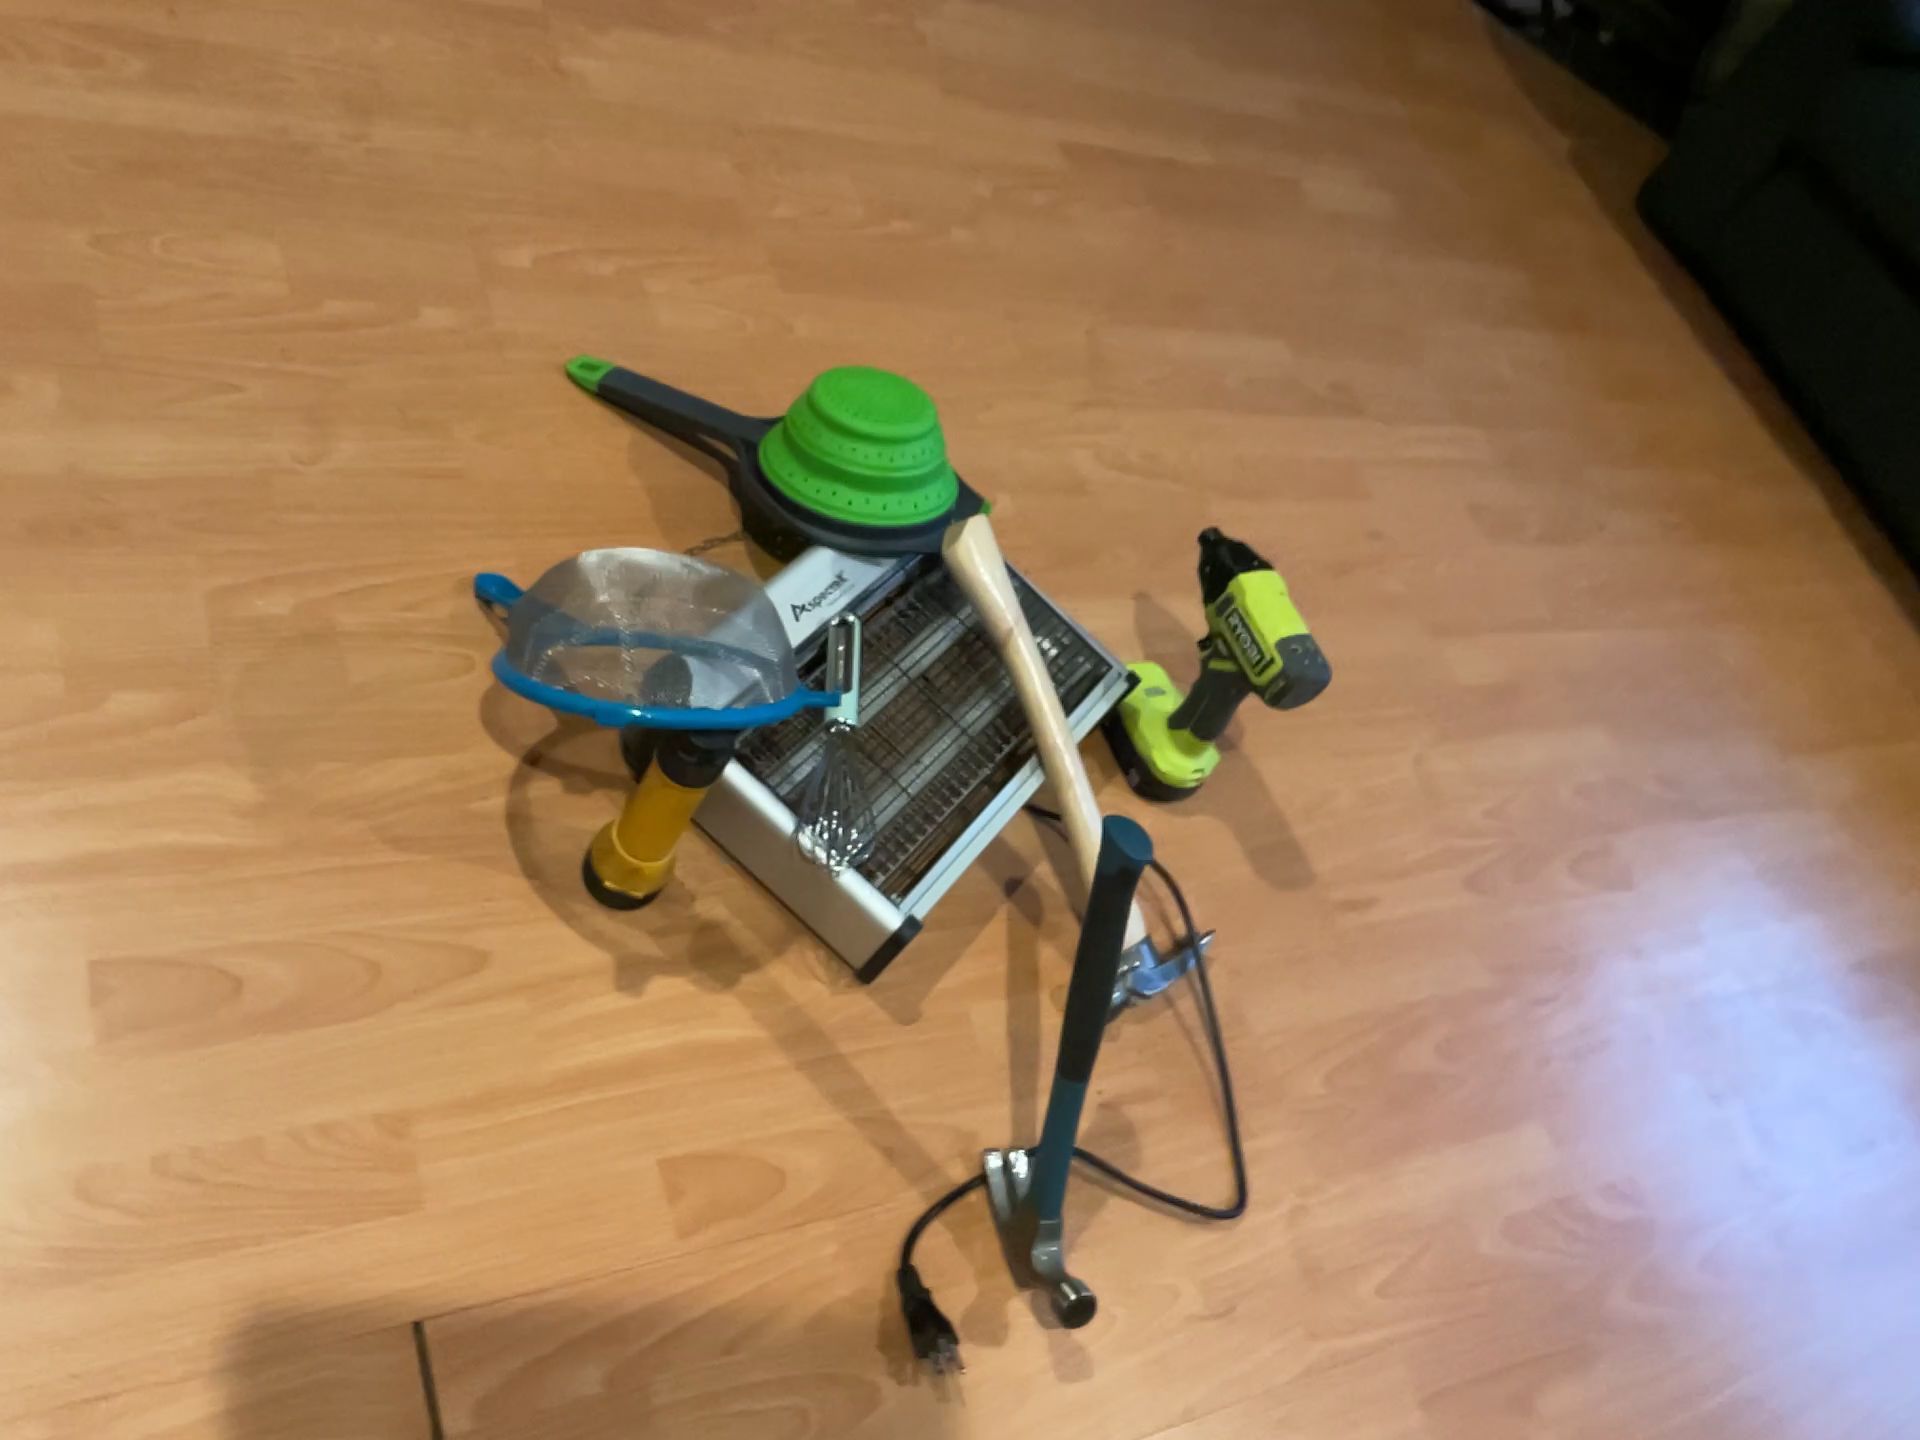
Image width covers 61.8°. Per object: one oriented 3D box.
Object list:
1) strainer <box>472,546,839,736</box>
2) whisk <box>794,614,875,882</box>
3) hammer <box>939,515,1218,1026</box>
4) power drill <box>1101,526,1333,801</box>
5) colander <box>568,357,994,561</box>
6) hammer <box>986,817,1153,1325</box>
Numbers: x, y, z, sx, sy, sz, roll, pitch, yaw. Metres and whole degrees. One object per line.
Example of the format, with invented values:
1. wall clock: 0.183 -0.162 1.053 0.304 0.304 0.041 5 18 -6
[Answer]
1. strainer: -0.248 -0.087 1.129 0.211 0.095 0.340 -6 24 -45
2. whisk: -0.090 0.014 1.190 0.058 0.059 0.246 -3 50 3
3. hammer: 0.086 0.029 1.291 0.146 0.038 0.410 -25 96 -39
4. power drill: 0.211 -0.045 1.395 0.080 0.223 0.171 -8 61 -35
5. colander: -0.155 -0.264 1.375 0.397 0.094 0.205 23 39 9
6. hammer: 0.080 0.227 1.079 0.033 0.330 0.128 3 16 -28
